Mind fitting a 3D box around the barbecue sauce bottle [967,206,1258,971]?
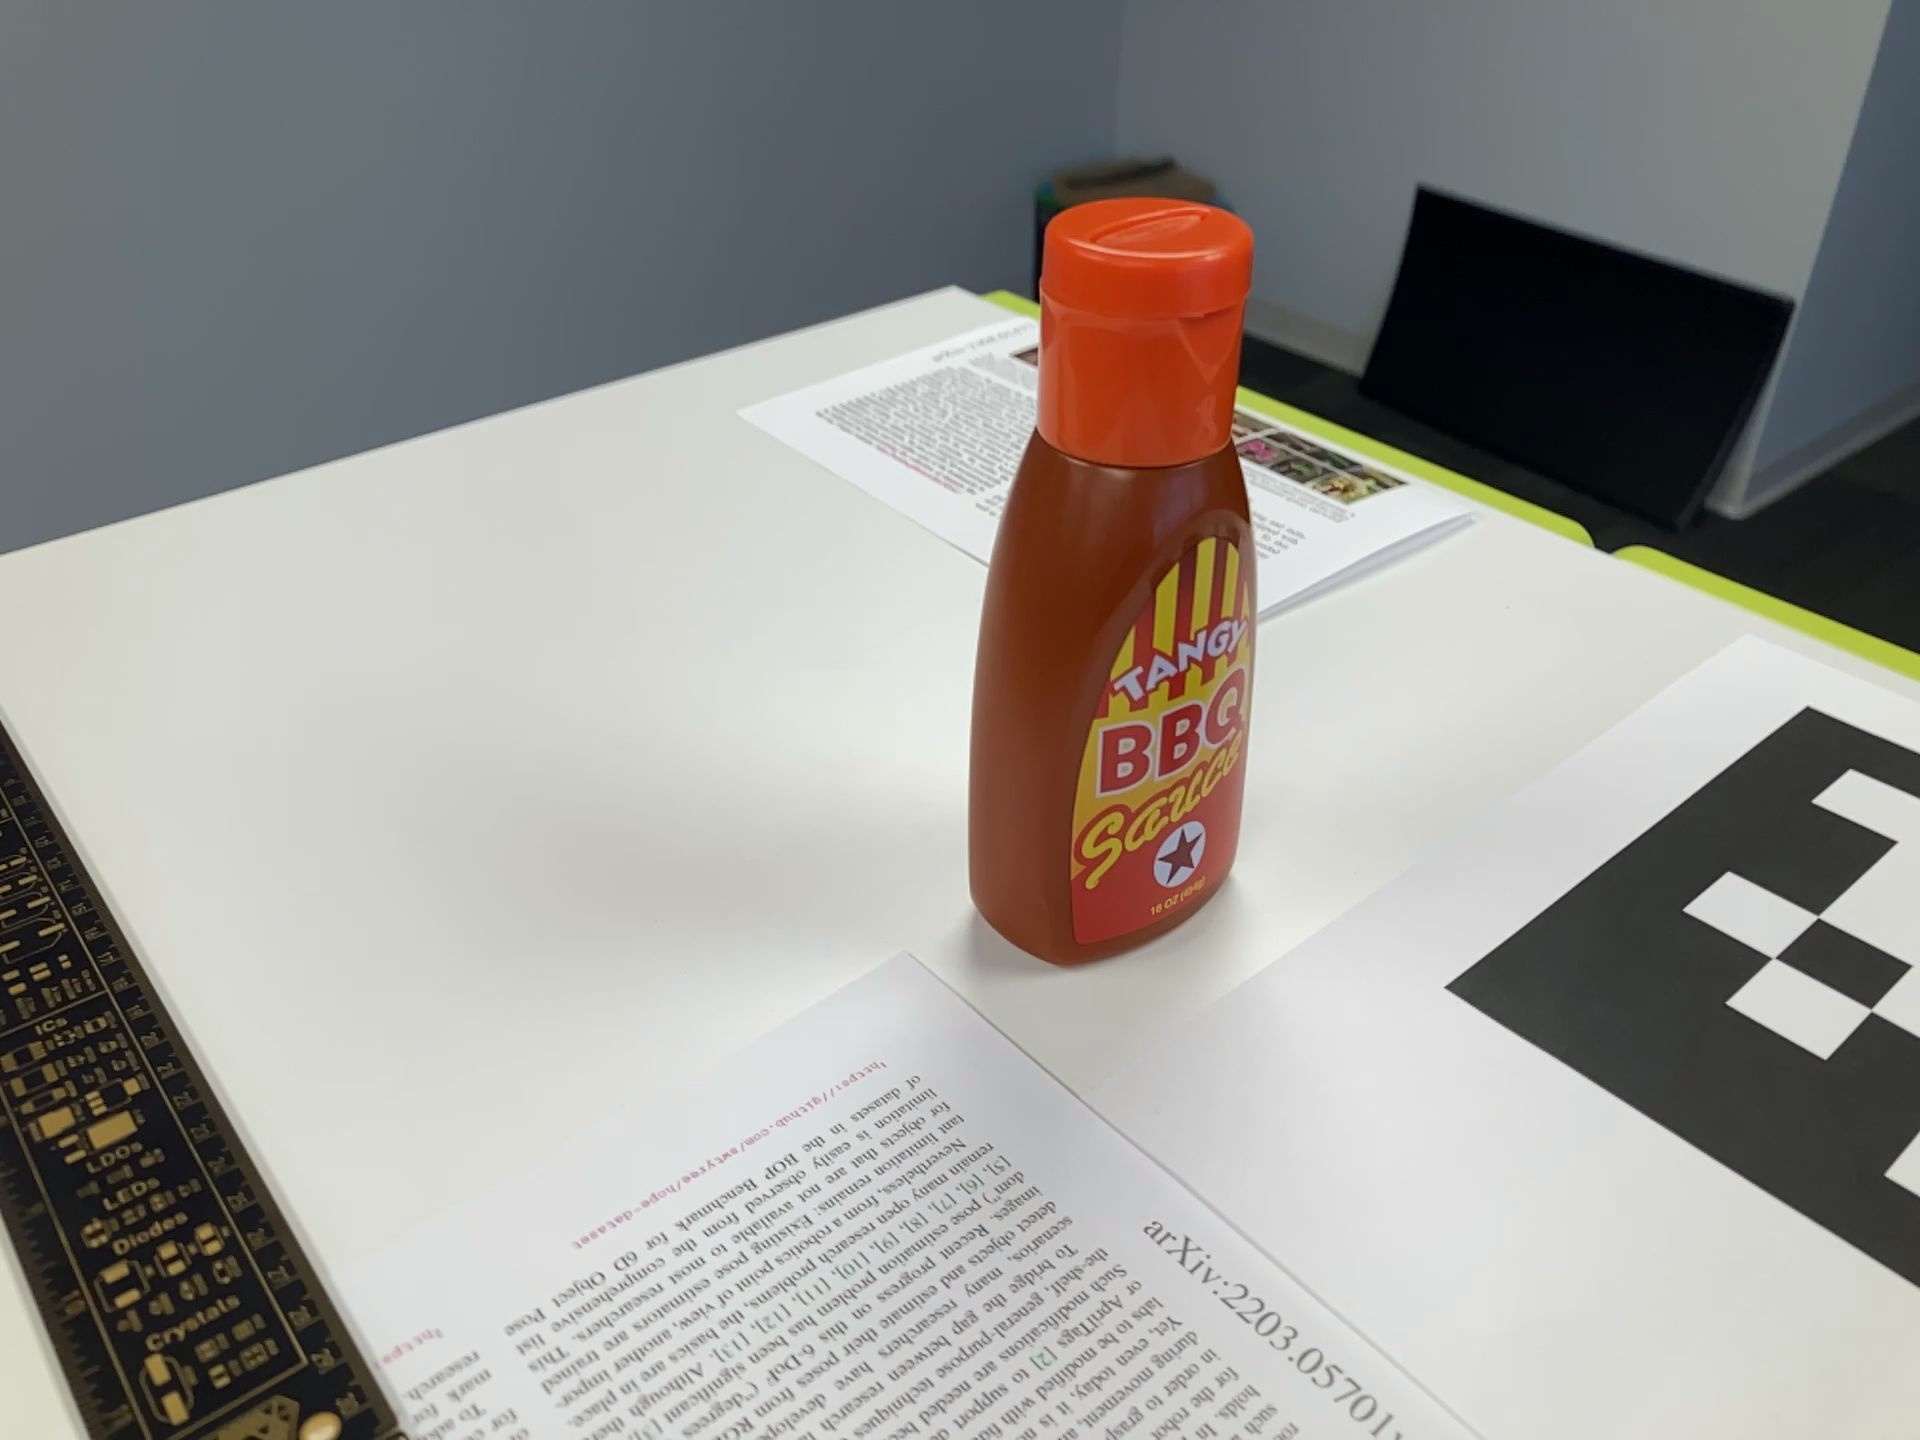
[{"bbox_3d":[0.032,-0.023,0.316,0.065,0.148,0.043,-24,40,-32],"label":"barbecue sauce bottle"}]
